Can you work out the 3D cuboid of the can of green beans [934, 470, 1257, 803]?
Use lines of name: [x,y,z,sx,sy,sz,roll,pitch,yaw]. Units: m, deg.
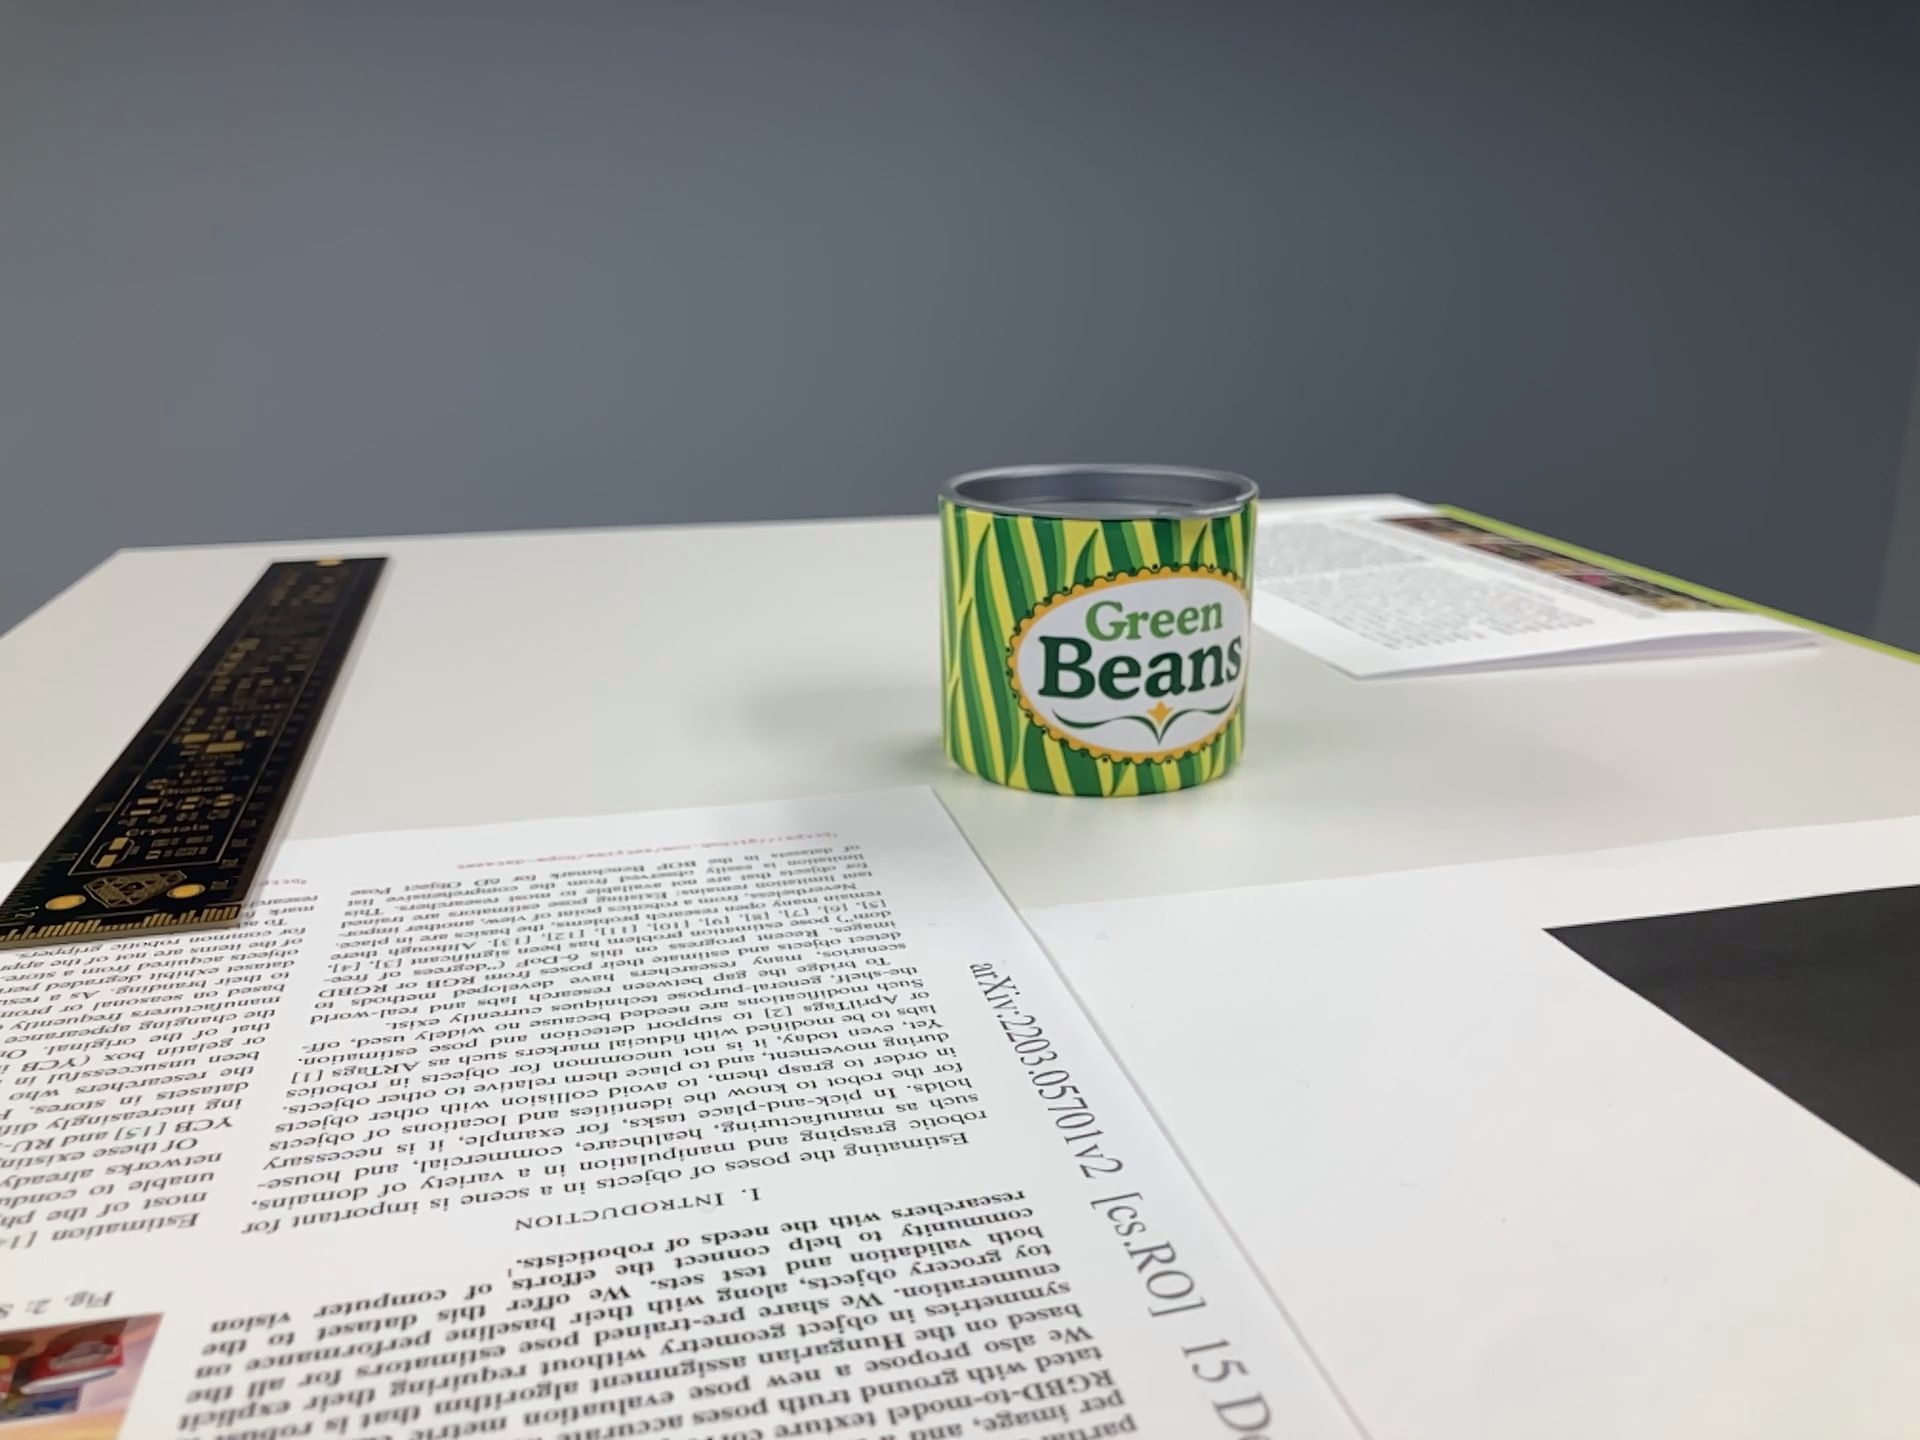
can of green beans: [0.028,-0.020,0.338,0.071,0.058,0.071,-1,16,0]
